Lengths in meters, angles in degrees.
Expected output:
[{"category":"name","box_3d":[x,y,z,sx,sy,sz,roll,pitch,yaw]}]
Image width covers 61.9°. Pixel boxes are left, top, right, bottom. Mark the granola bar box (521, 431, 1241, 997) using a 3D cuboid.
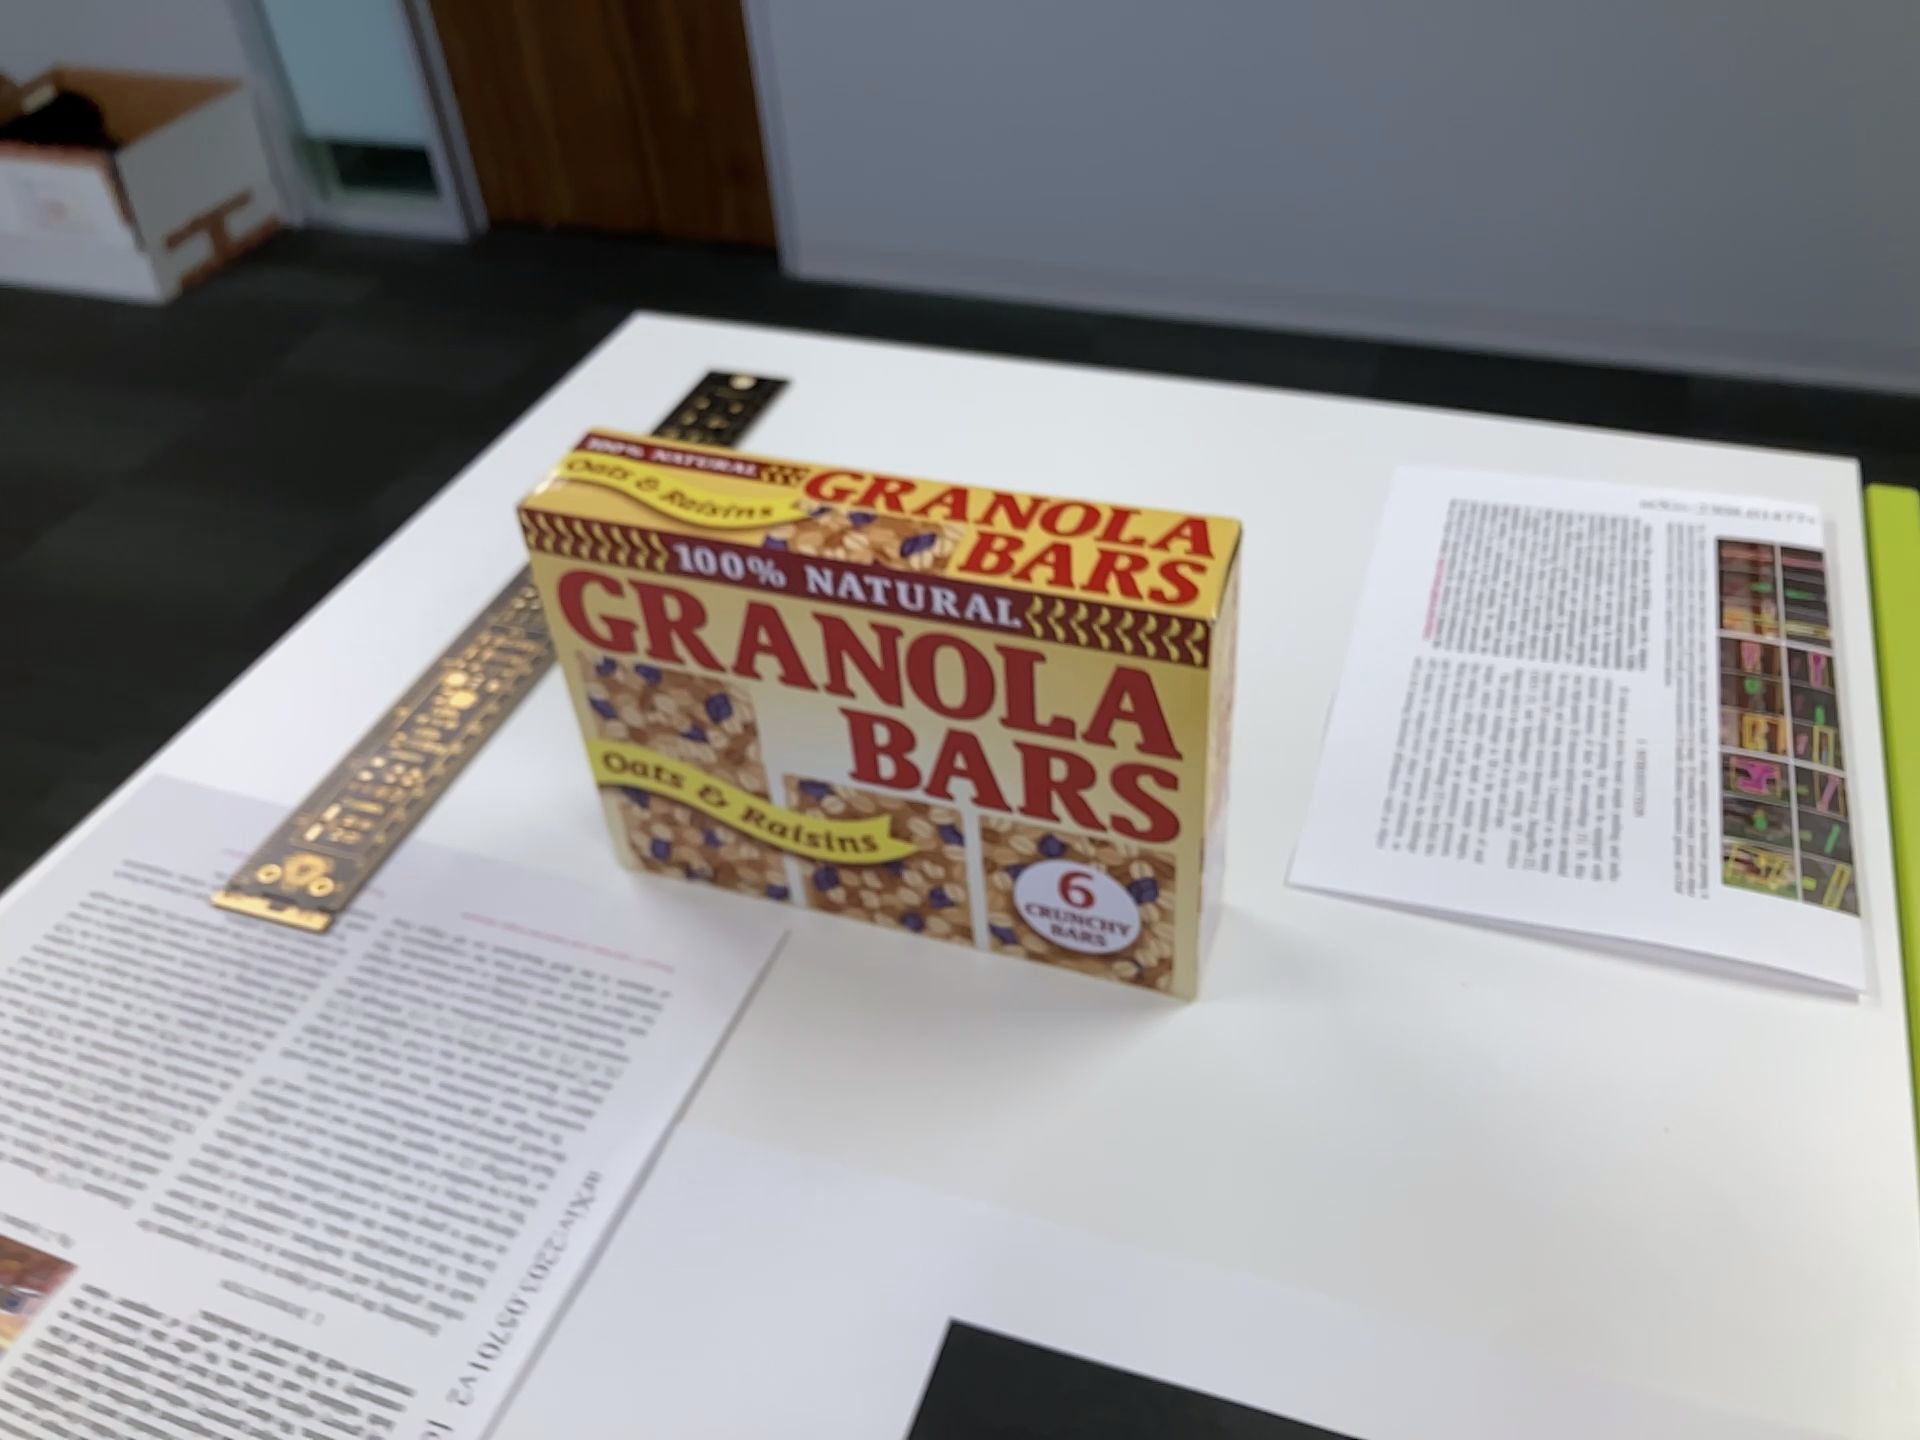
[{"category":"granola bar box","box_3d":[-0.016,-0.002,0.402,0.165,0.124,0.039,11,44,18]}]
